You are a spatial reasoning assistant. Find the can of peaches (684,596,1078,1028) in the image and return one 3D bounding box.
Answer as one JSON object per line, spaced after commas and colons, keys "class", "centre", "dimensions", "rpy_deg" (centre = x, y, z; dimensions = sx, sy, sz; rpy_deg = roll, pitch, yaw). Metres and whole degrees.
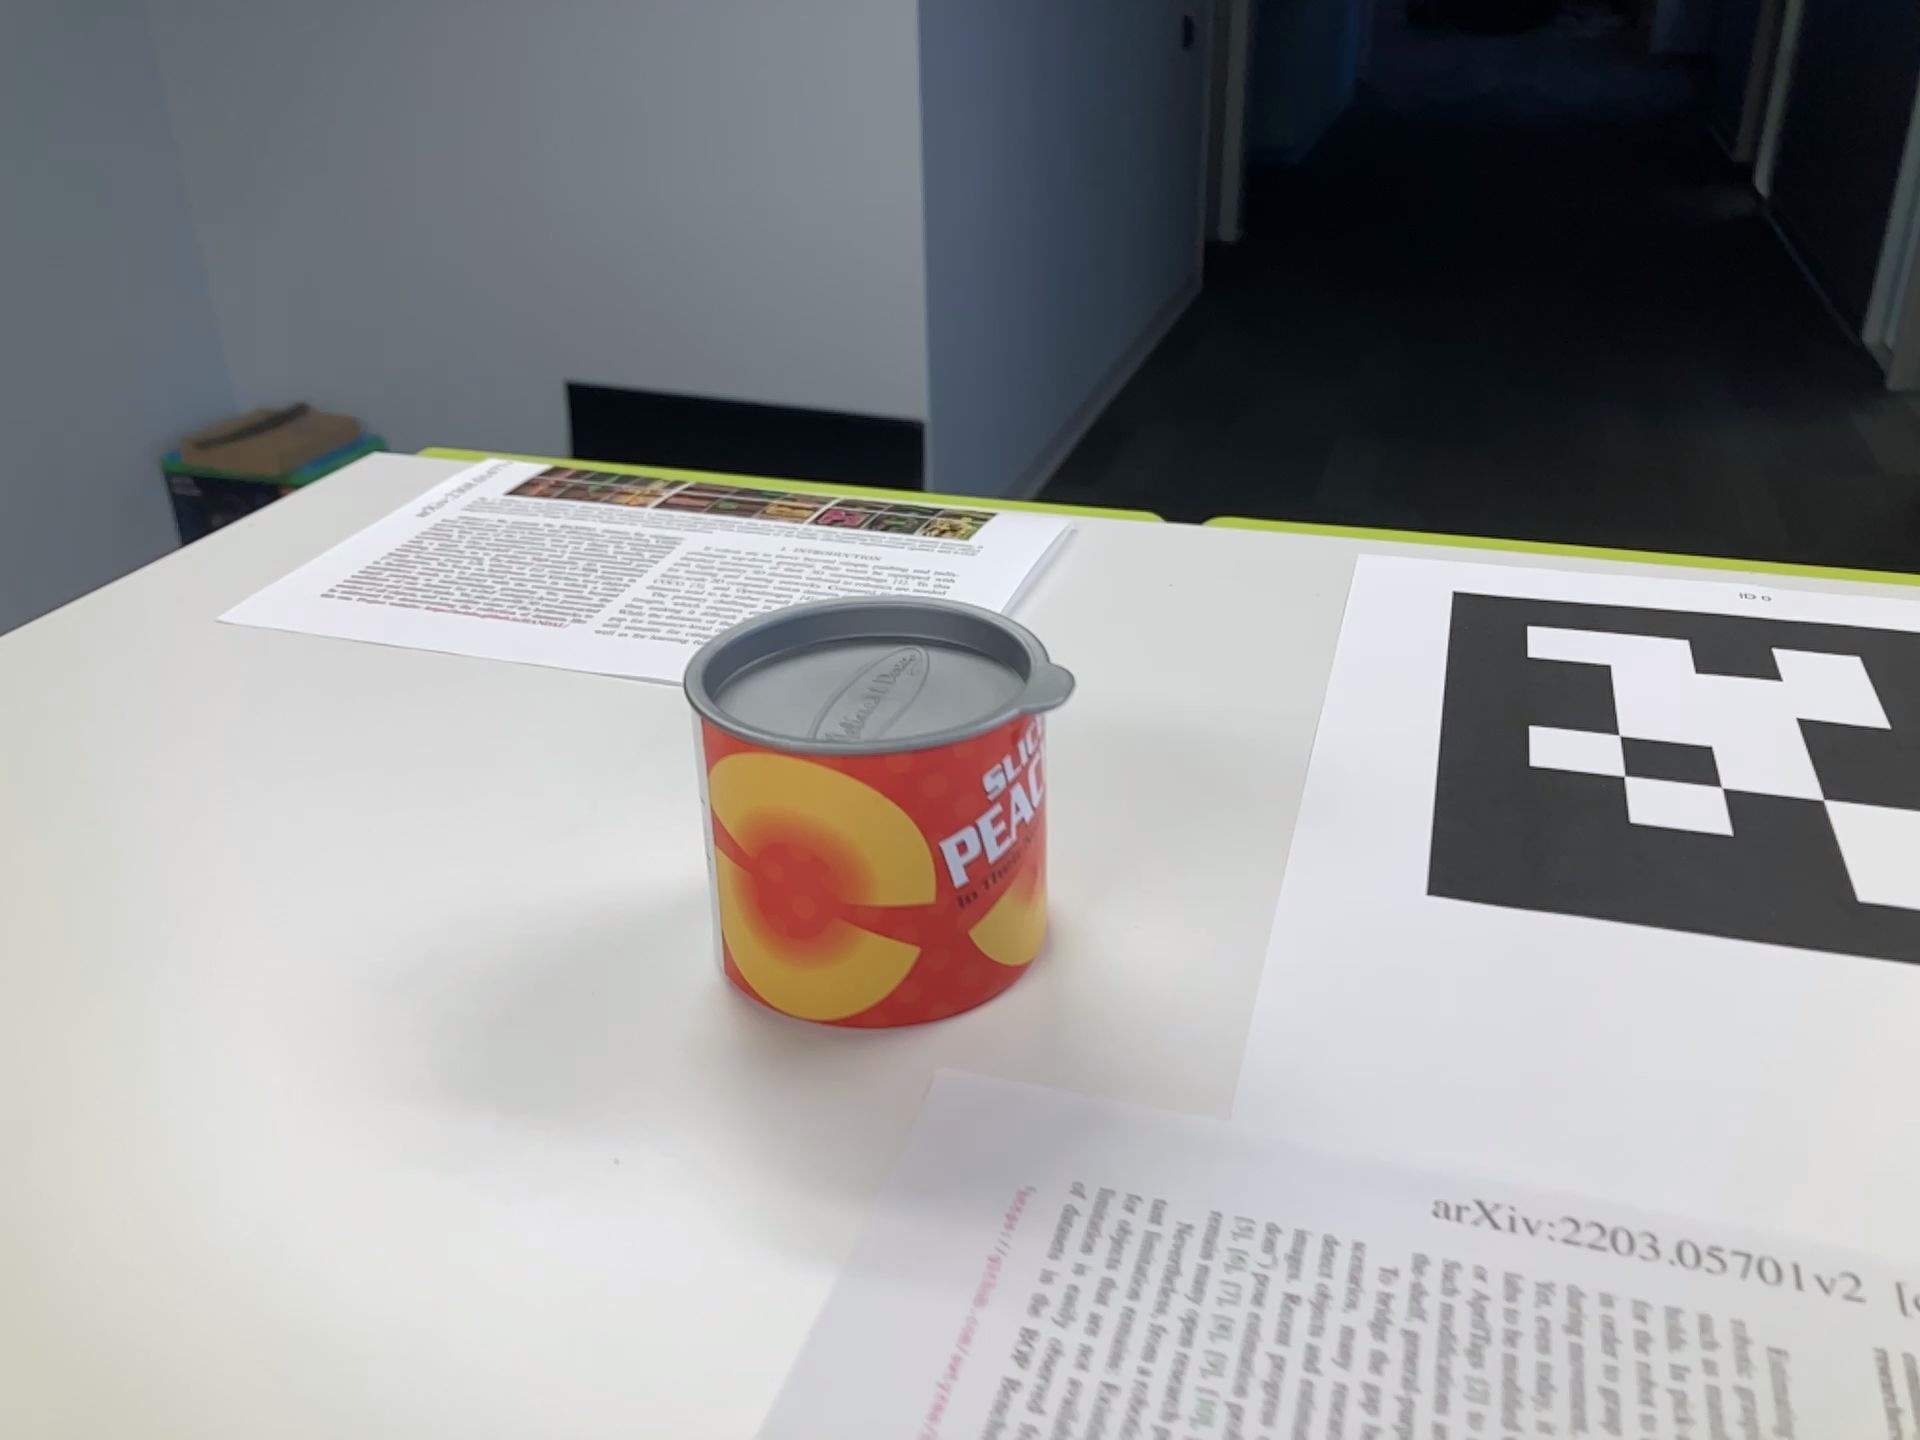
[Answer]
{"class": "can of peaches", "centre": [-0.014, 0.016, 0.299], "dimensions": [0.071, 0.058, 0.071], "rpy_deg": [0, 27, 0]}
